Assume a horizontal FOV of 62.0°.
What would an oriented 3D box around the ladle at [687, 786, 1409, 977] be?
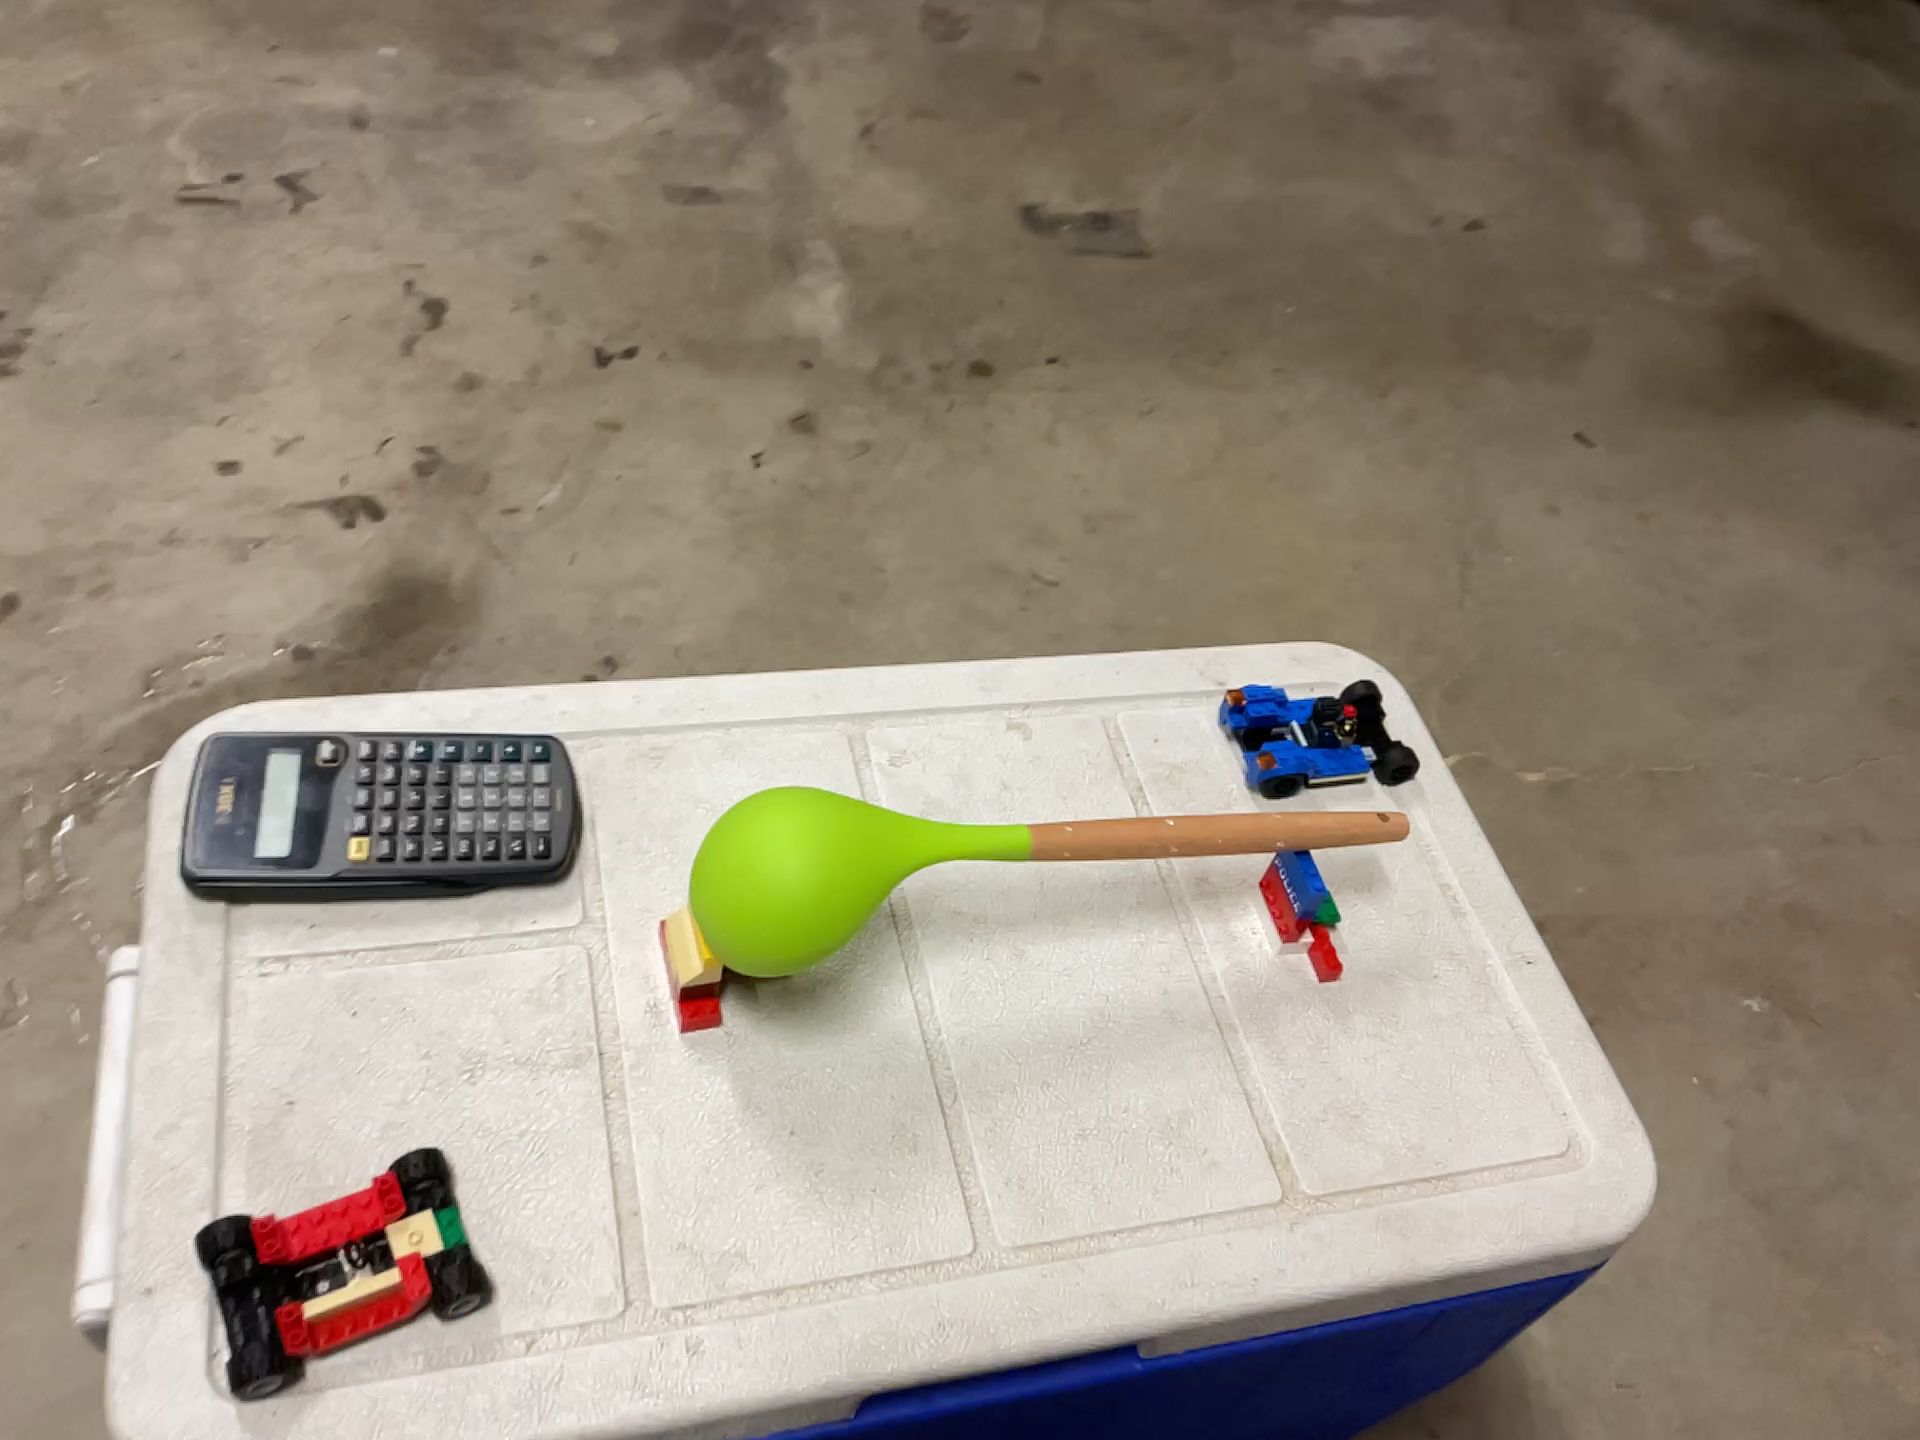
[{"bbox_3d":[0.047,0.059,0.662,0.320,0.062,0.078,0,44,-22],"label":"ladle"}]
